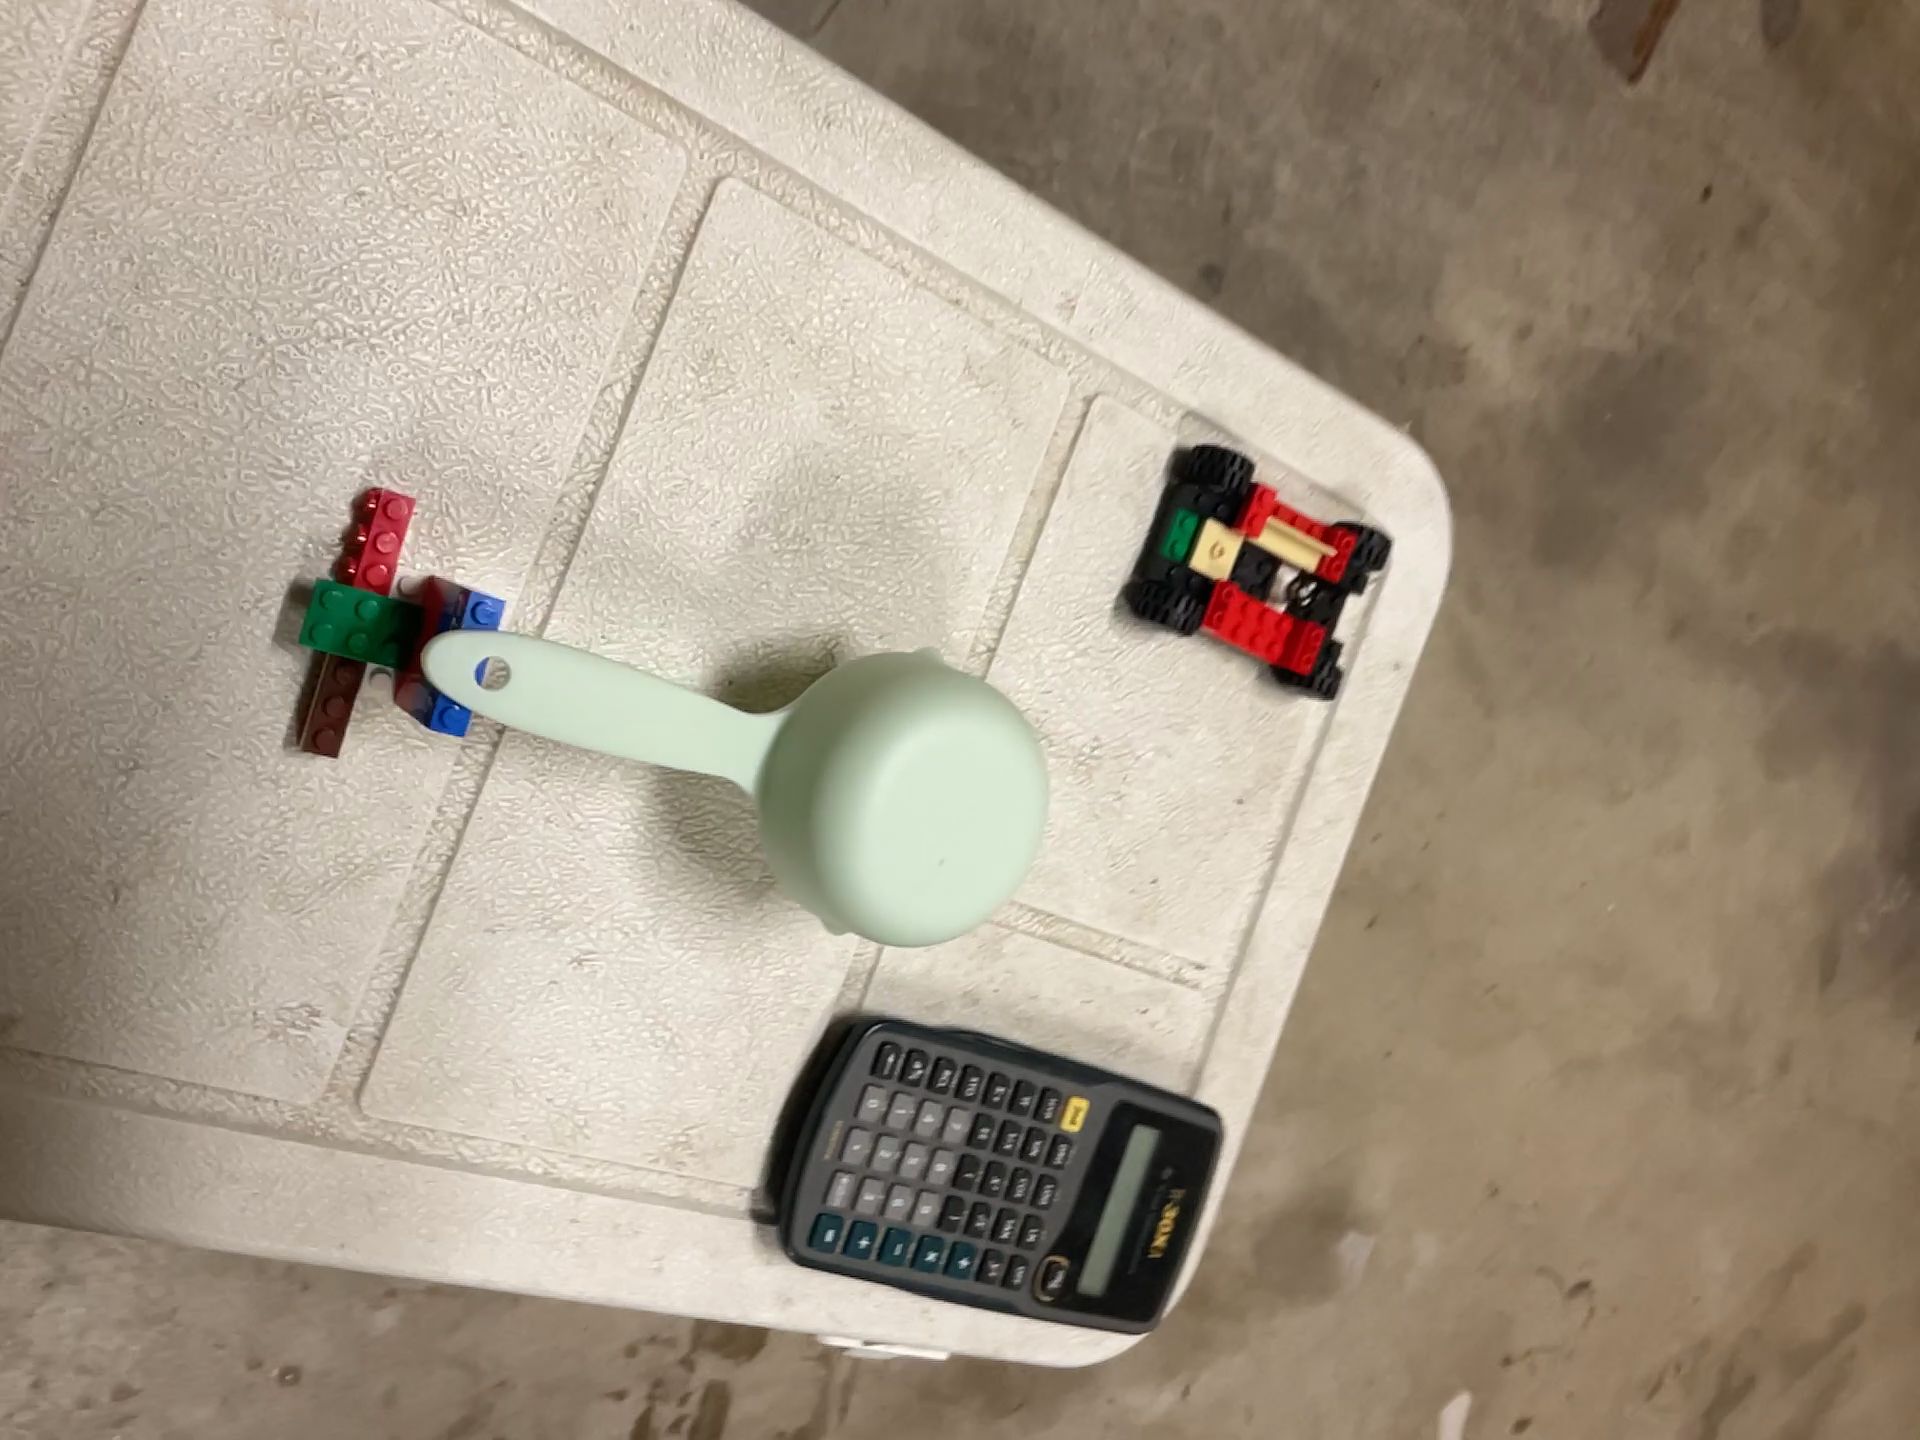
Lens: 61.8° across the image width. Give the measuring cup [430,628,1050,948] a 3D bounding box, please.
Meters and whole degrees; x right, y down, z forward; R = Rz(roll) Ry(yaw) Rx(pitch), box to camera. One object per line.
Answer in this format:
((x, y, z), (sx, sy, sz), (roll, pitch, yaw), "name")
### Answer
((-0.045, 0.010, 0.390), (0.168, 0.038, 0.083), (20, 89, -38), "measuring cup")
